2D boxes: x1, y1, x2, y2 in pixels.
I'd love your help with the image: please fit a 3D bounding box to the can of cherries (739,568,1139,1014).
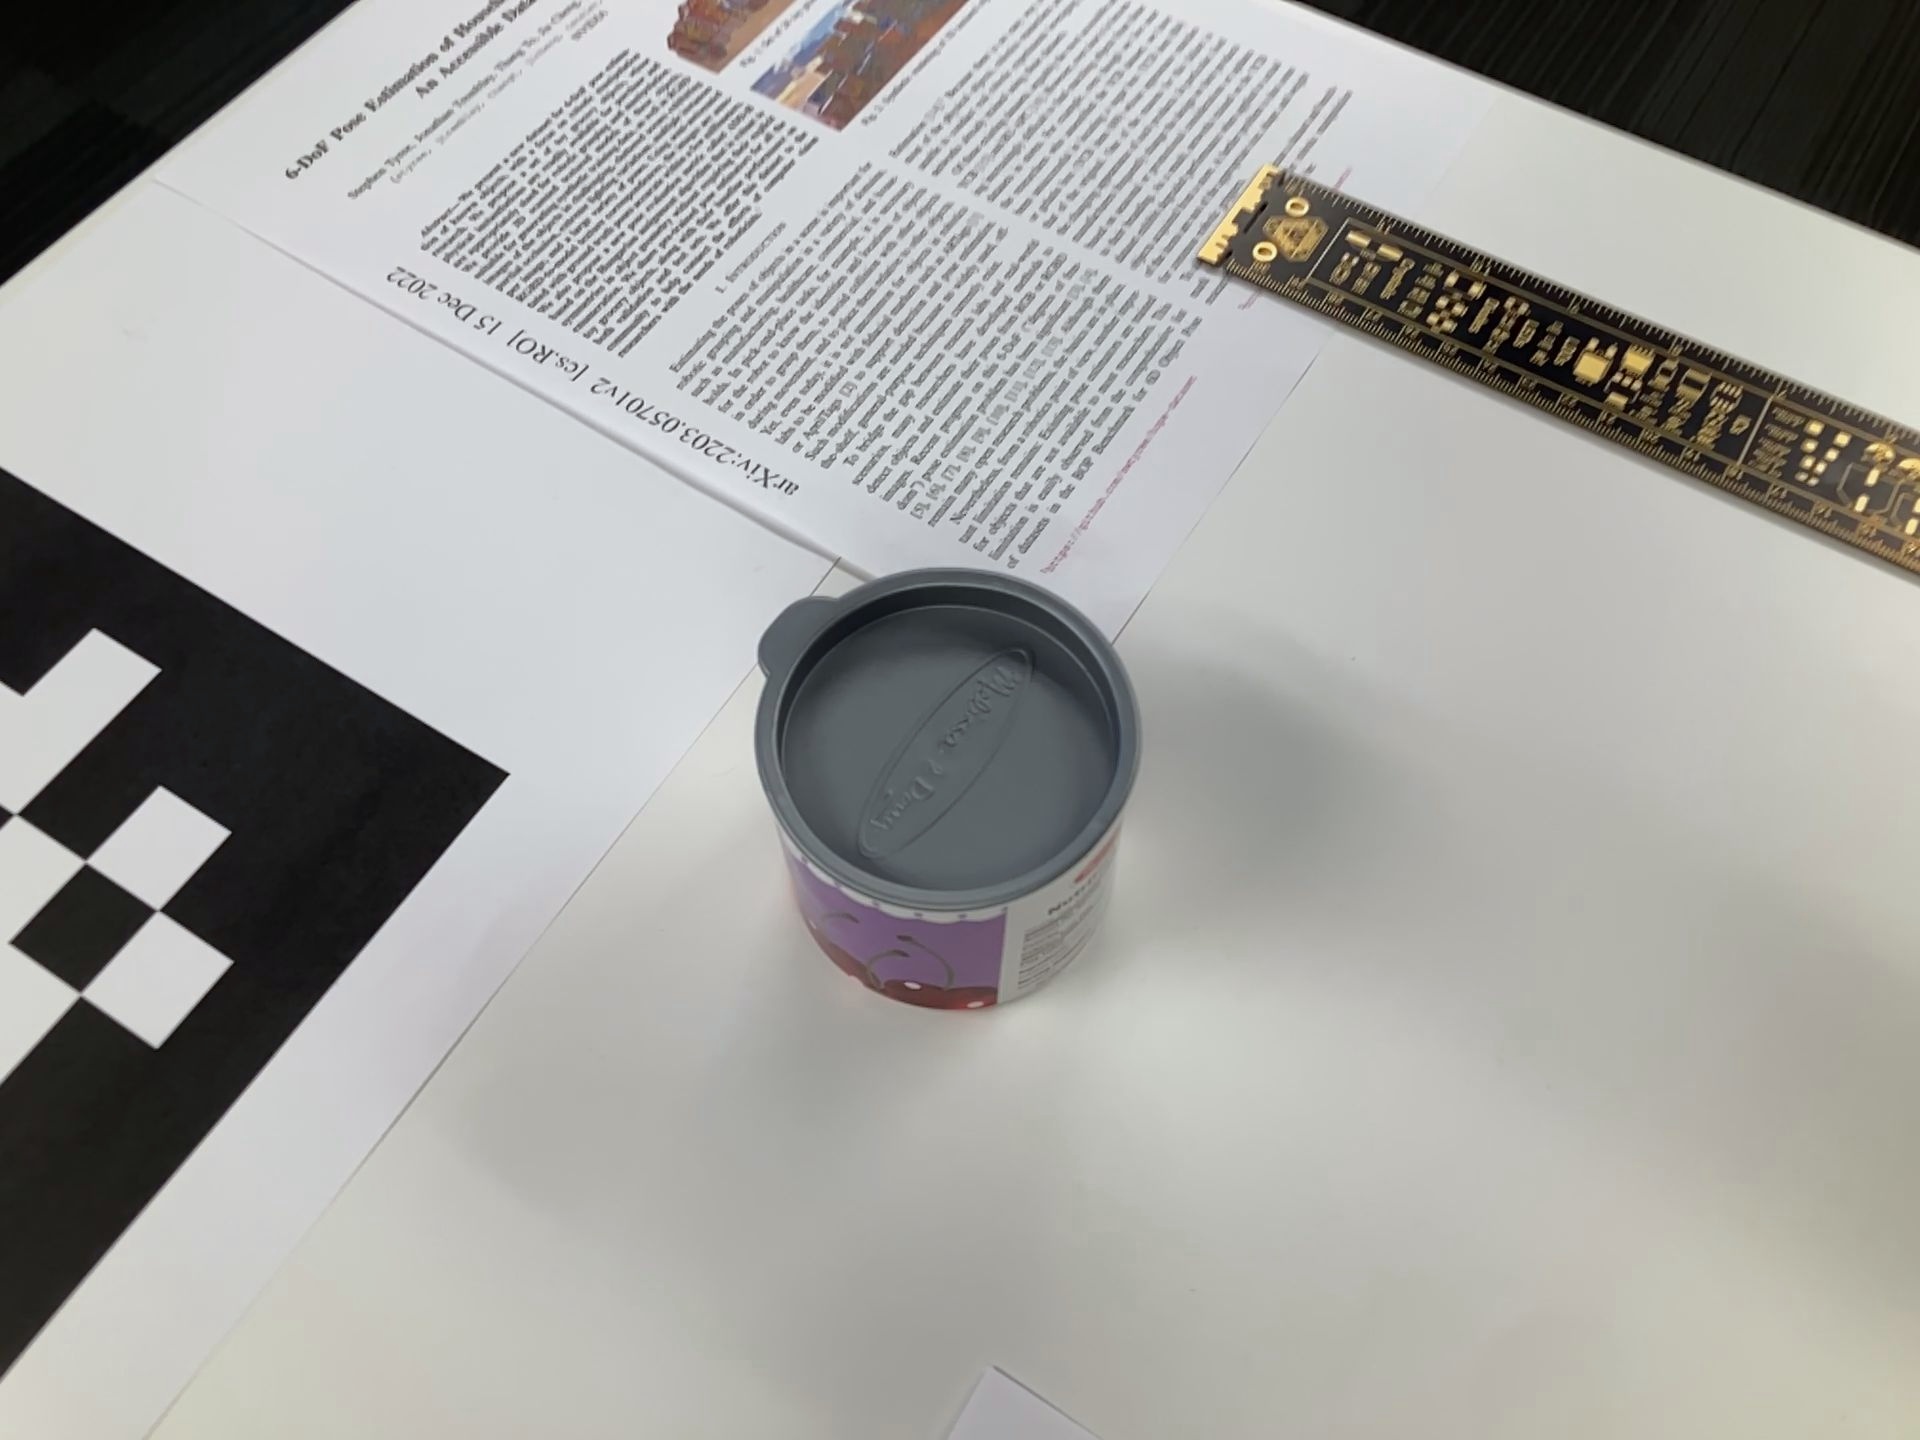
[{"bbox_3d":[-0.005,0.013,0.296,0.071,0.058,0.071,0,62,0],"label":"can of cherries"}]
